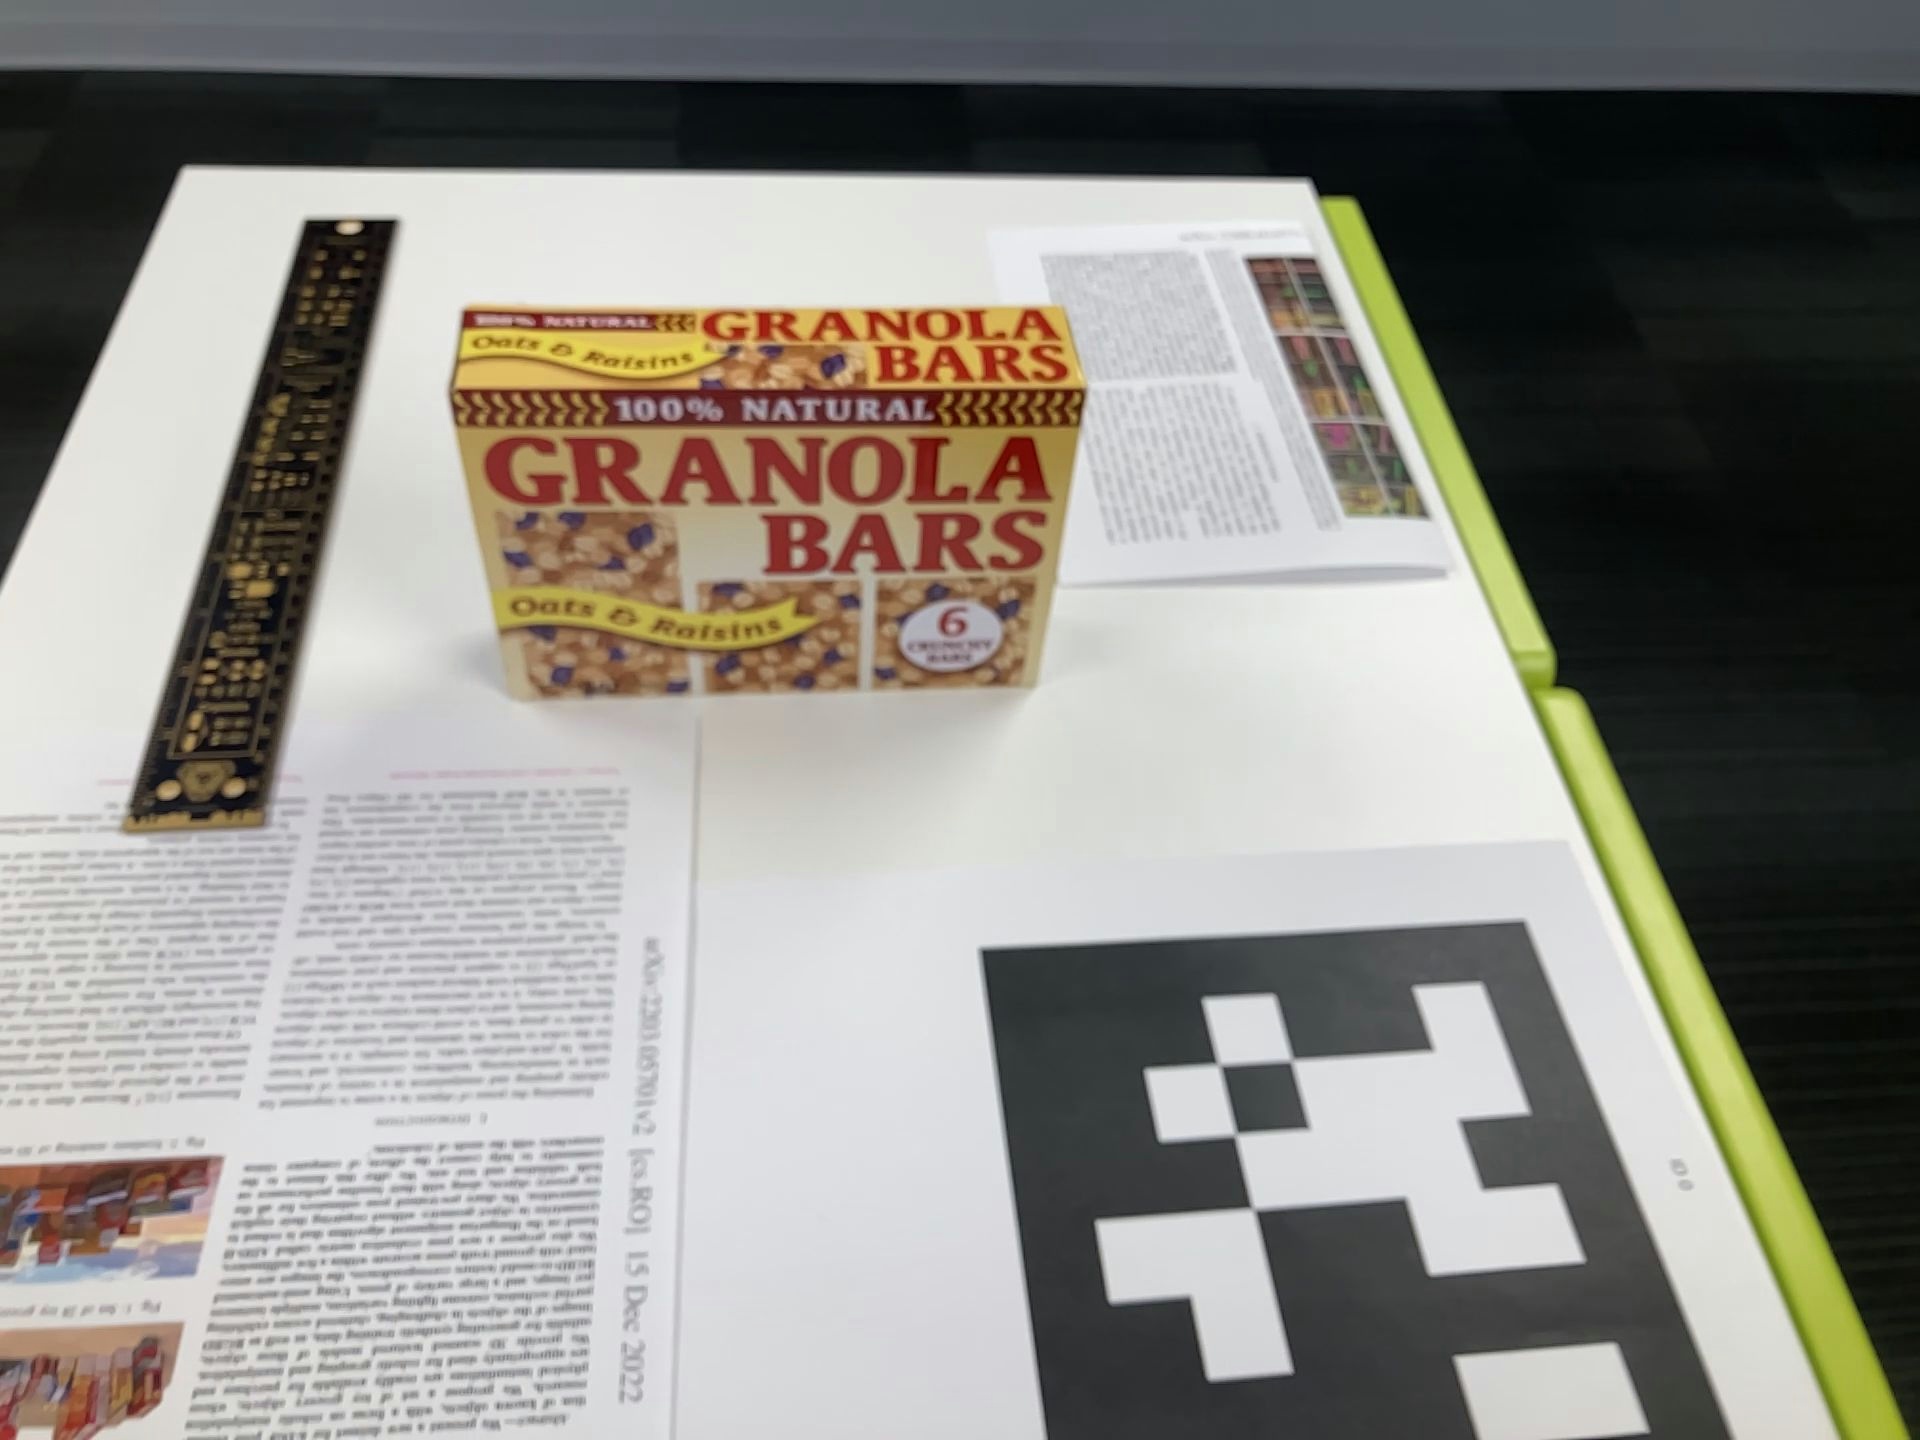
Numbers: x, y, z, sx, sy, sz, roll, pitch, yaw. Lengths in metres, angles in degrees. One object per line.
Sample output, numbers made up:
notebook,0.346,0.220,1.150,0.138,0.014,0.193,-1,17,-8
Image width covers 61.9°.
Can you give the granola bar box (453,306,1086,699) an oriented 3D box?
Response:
granola bar box,-0.054,-0.062,0.477,0.165,0.124,0.039,-2,51,-6
